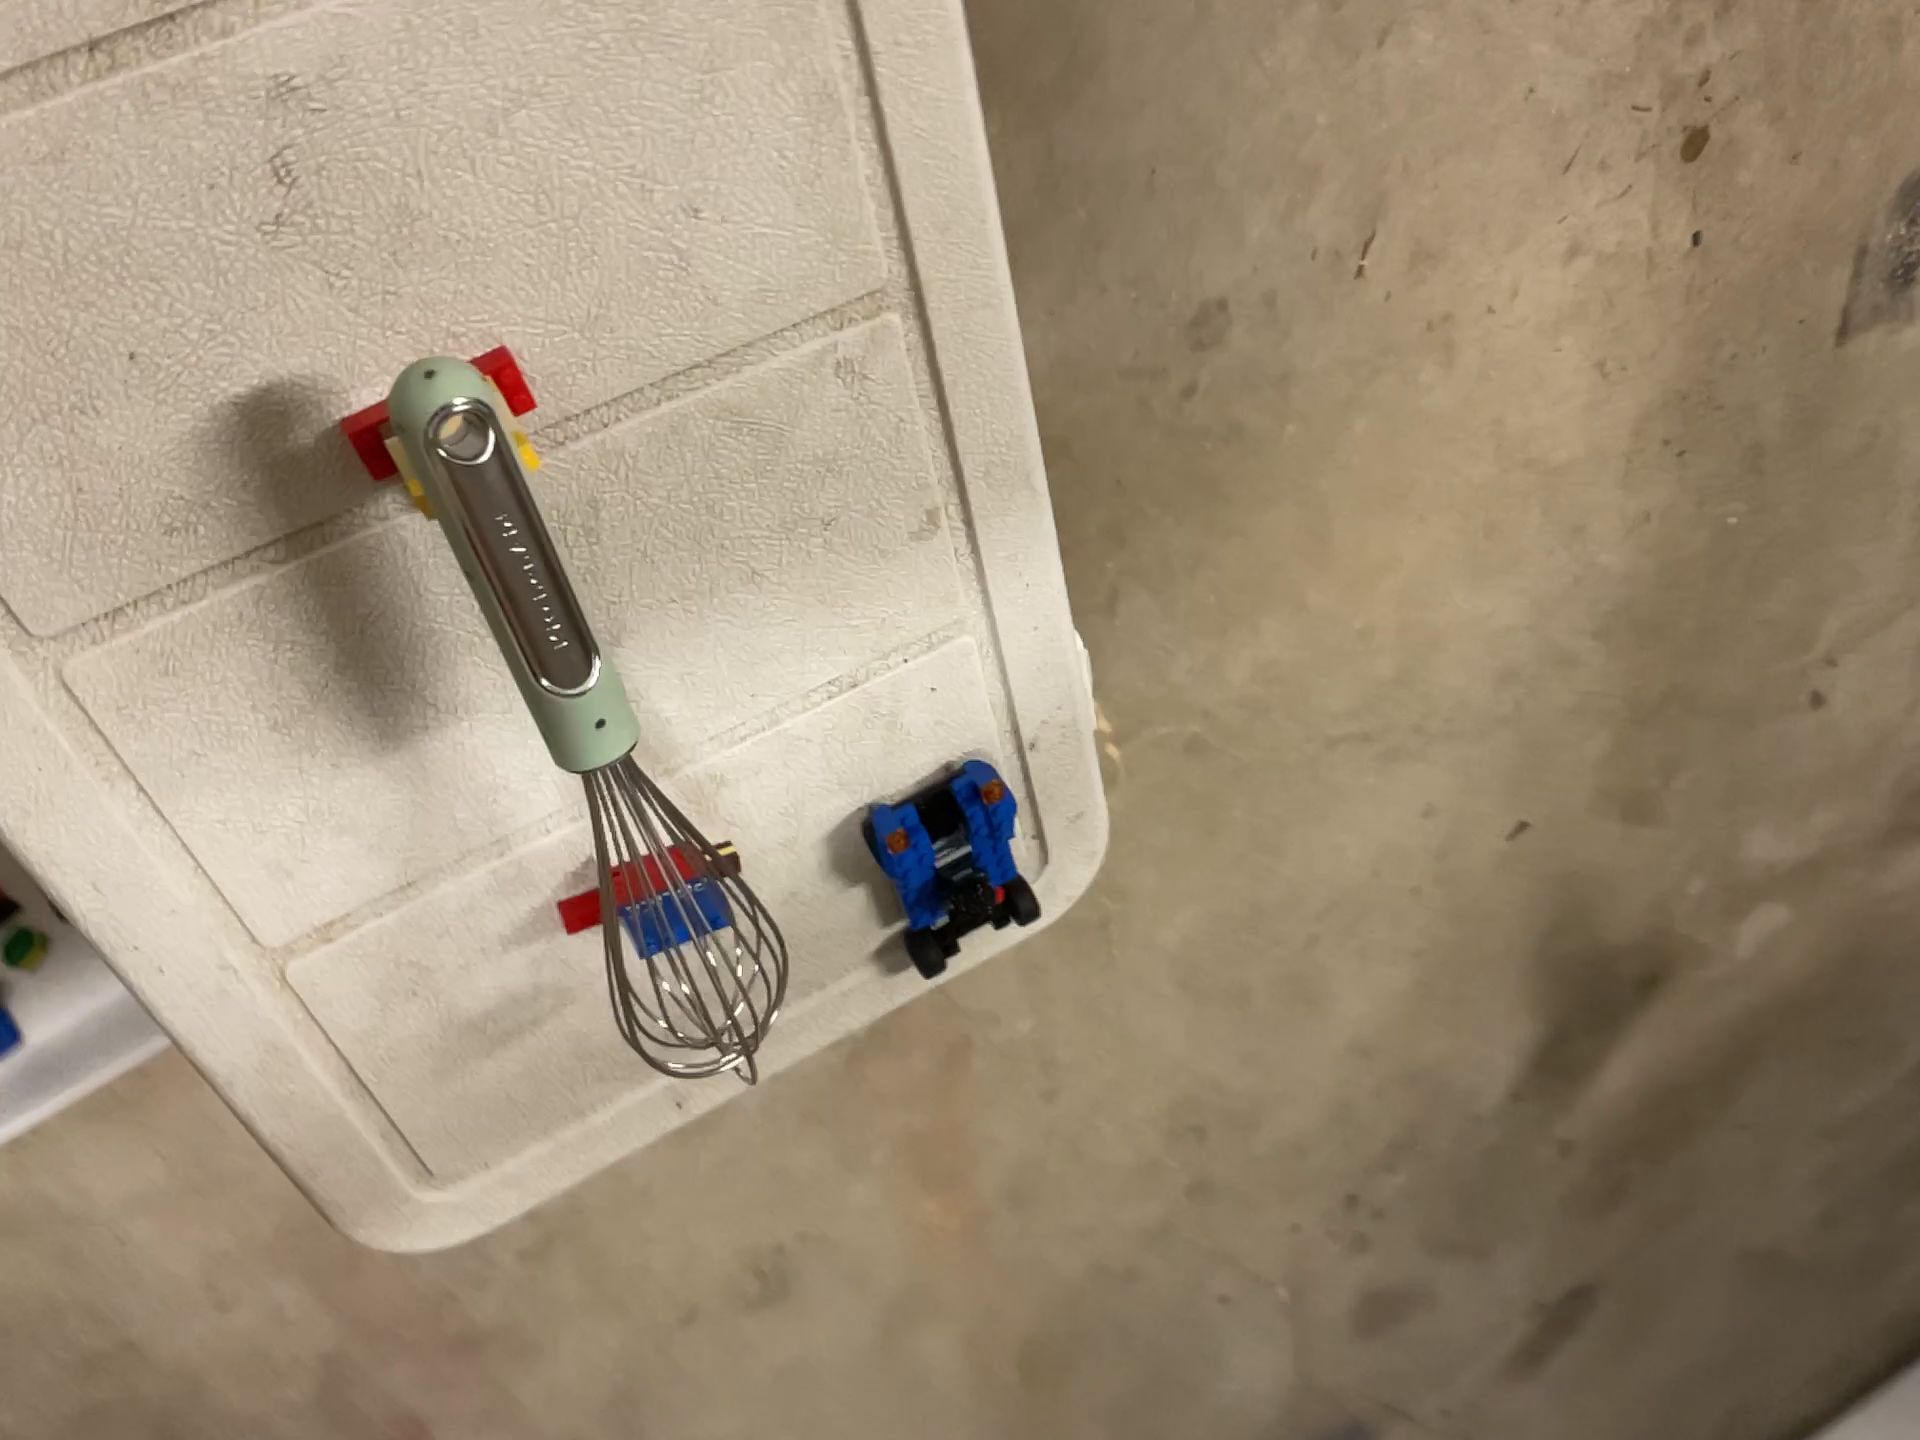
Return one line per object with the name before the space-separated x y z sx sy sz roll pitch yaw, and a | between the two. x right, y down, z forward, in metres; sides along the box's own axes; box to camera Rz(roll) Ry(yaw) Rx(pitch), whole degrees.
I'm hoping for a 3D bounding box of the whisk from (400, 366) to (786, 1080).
whisk | -0.100 0.014 0.456 0.058 0.059 0.246 -30 127 -20
